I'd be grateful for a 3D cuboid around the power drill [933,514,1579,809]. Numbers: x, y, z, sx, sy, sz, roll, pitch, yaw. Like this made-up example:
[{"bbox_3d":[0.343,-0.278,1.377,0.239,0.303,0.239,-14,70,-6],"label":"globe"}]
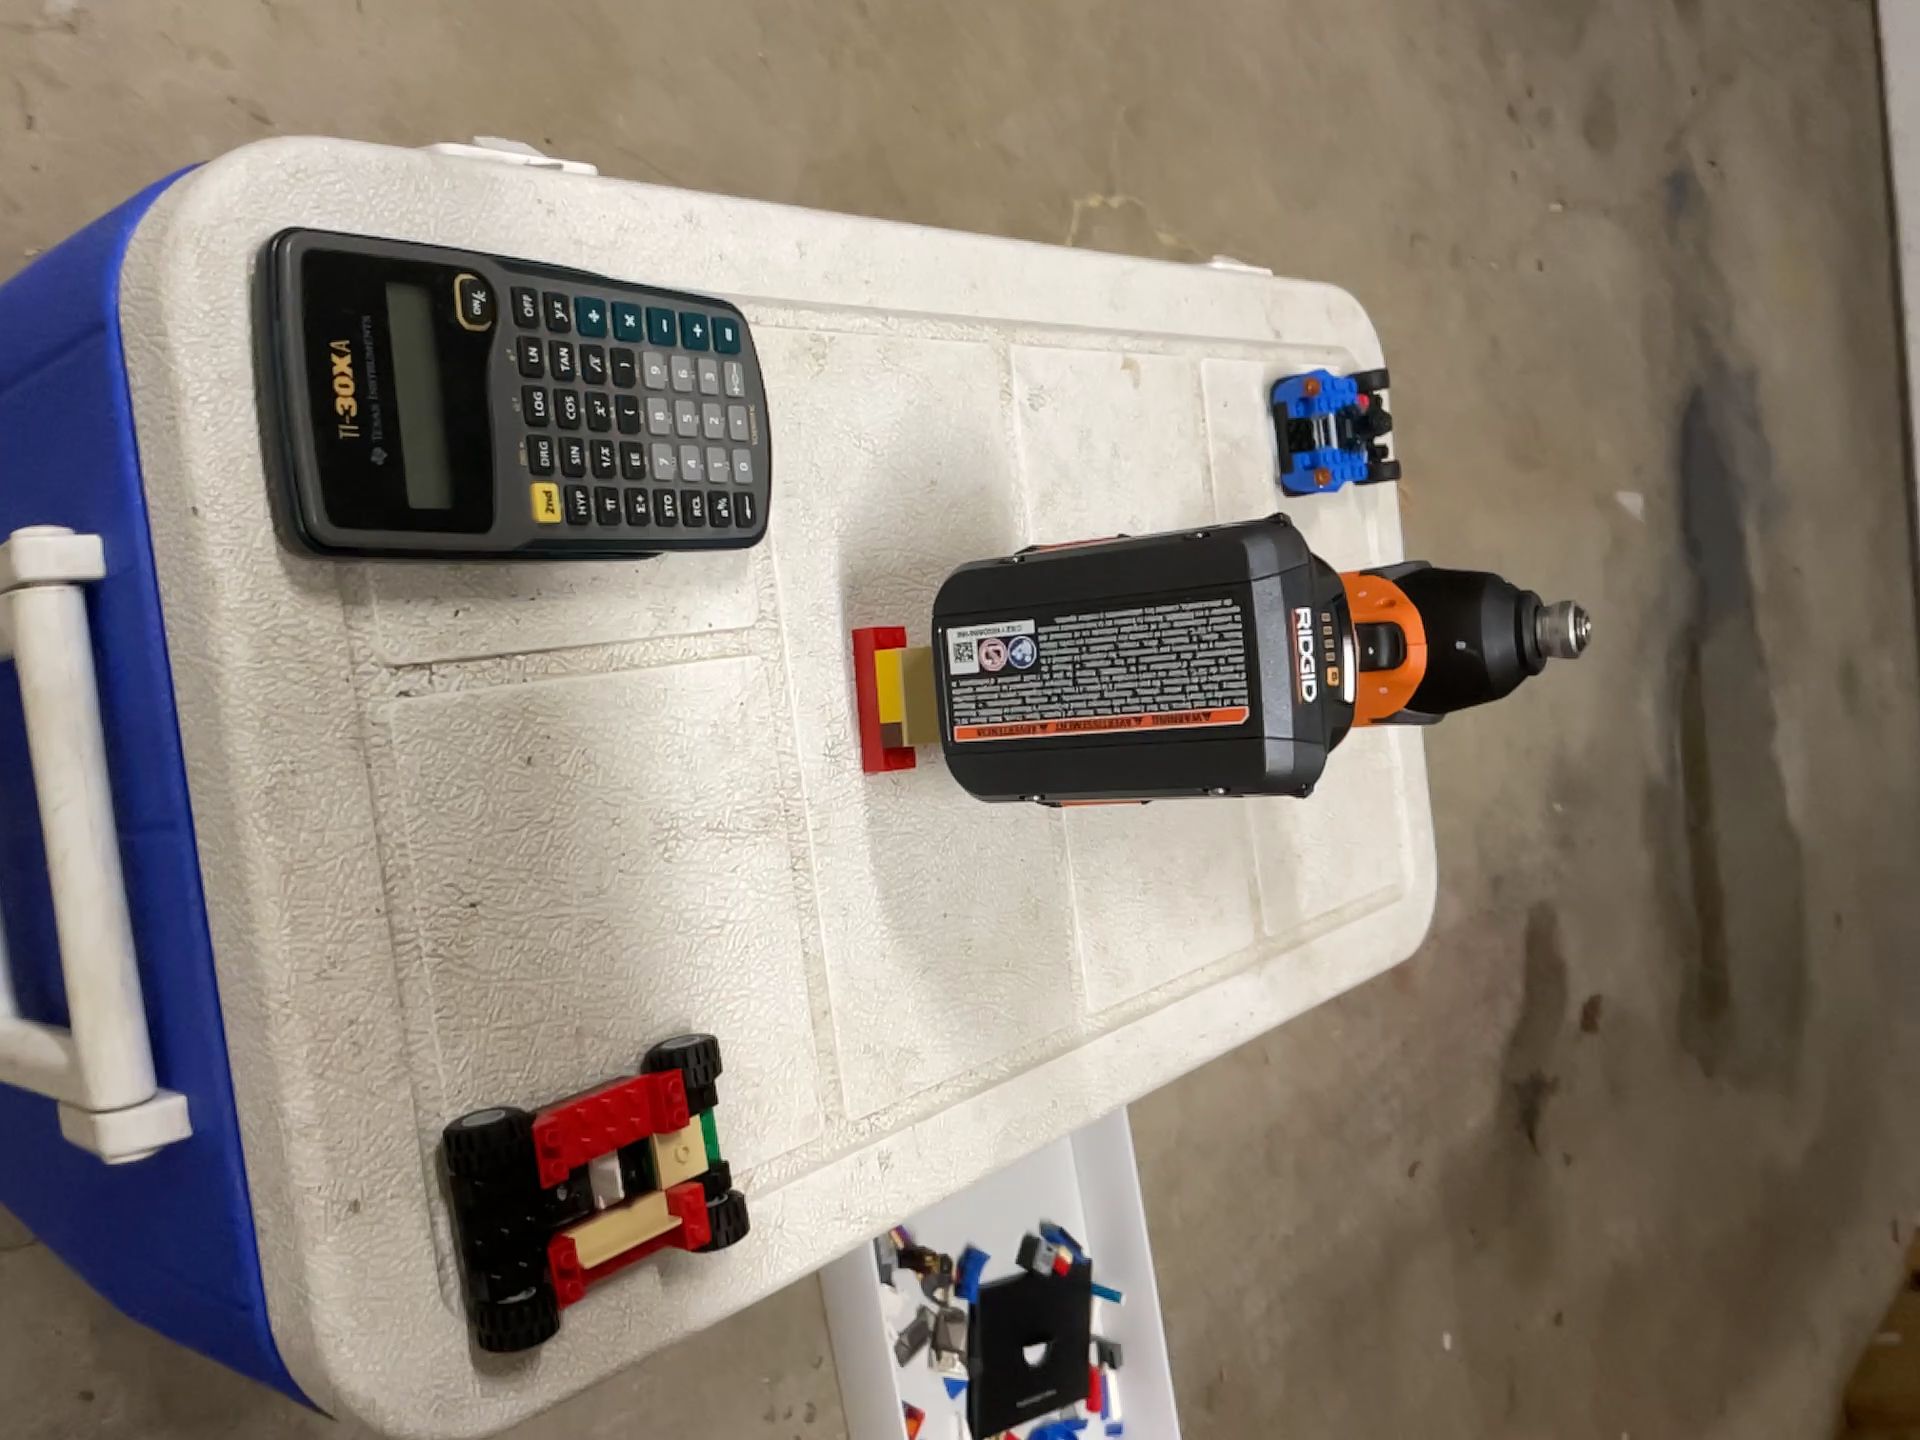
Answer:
[{"bbox_3d":[0.110,-0.023,0.548,0.227,0.164,0.084,-7,92,-59],"label":"power drill"}]
